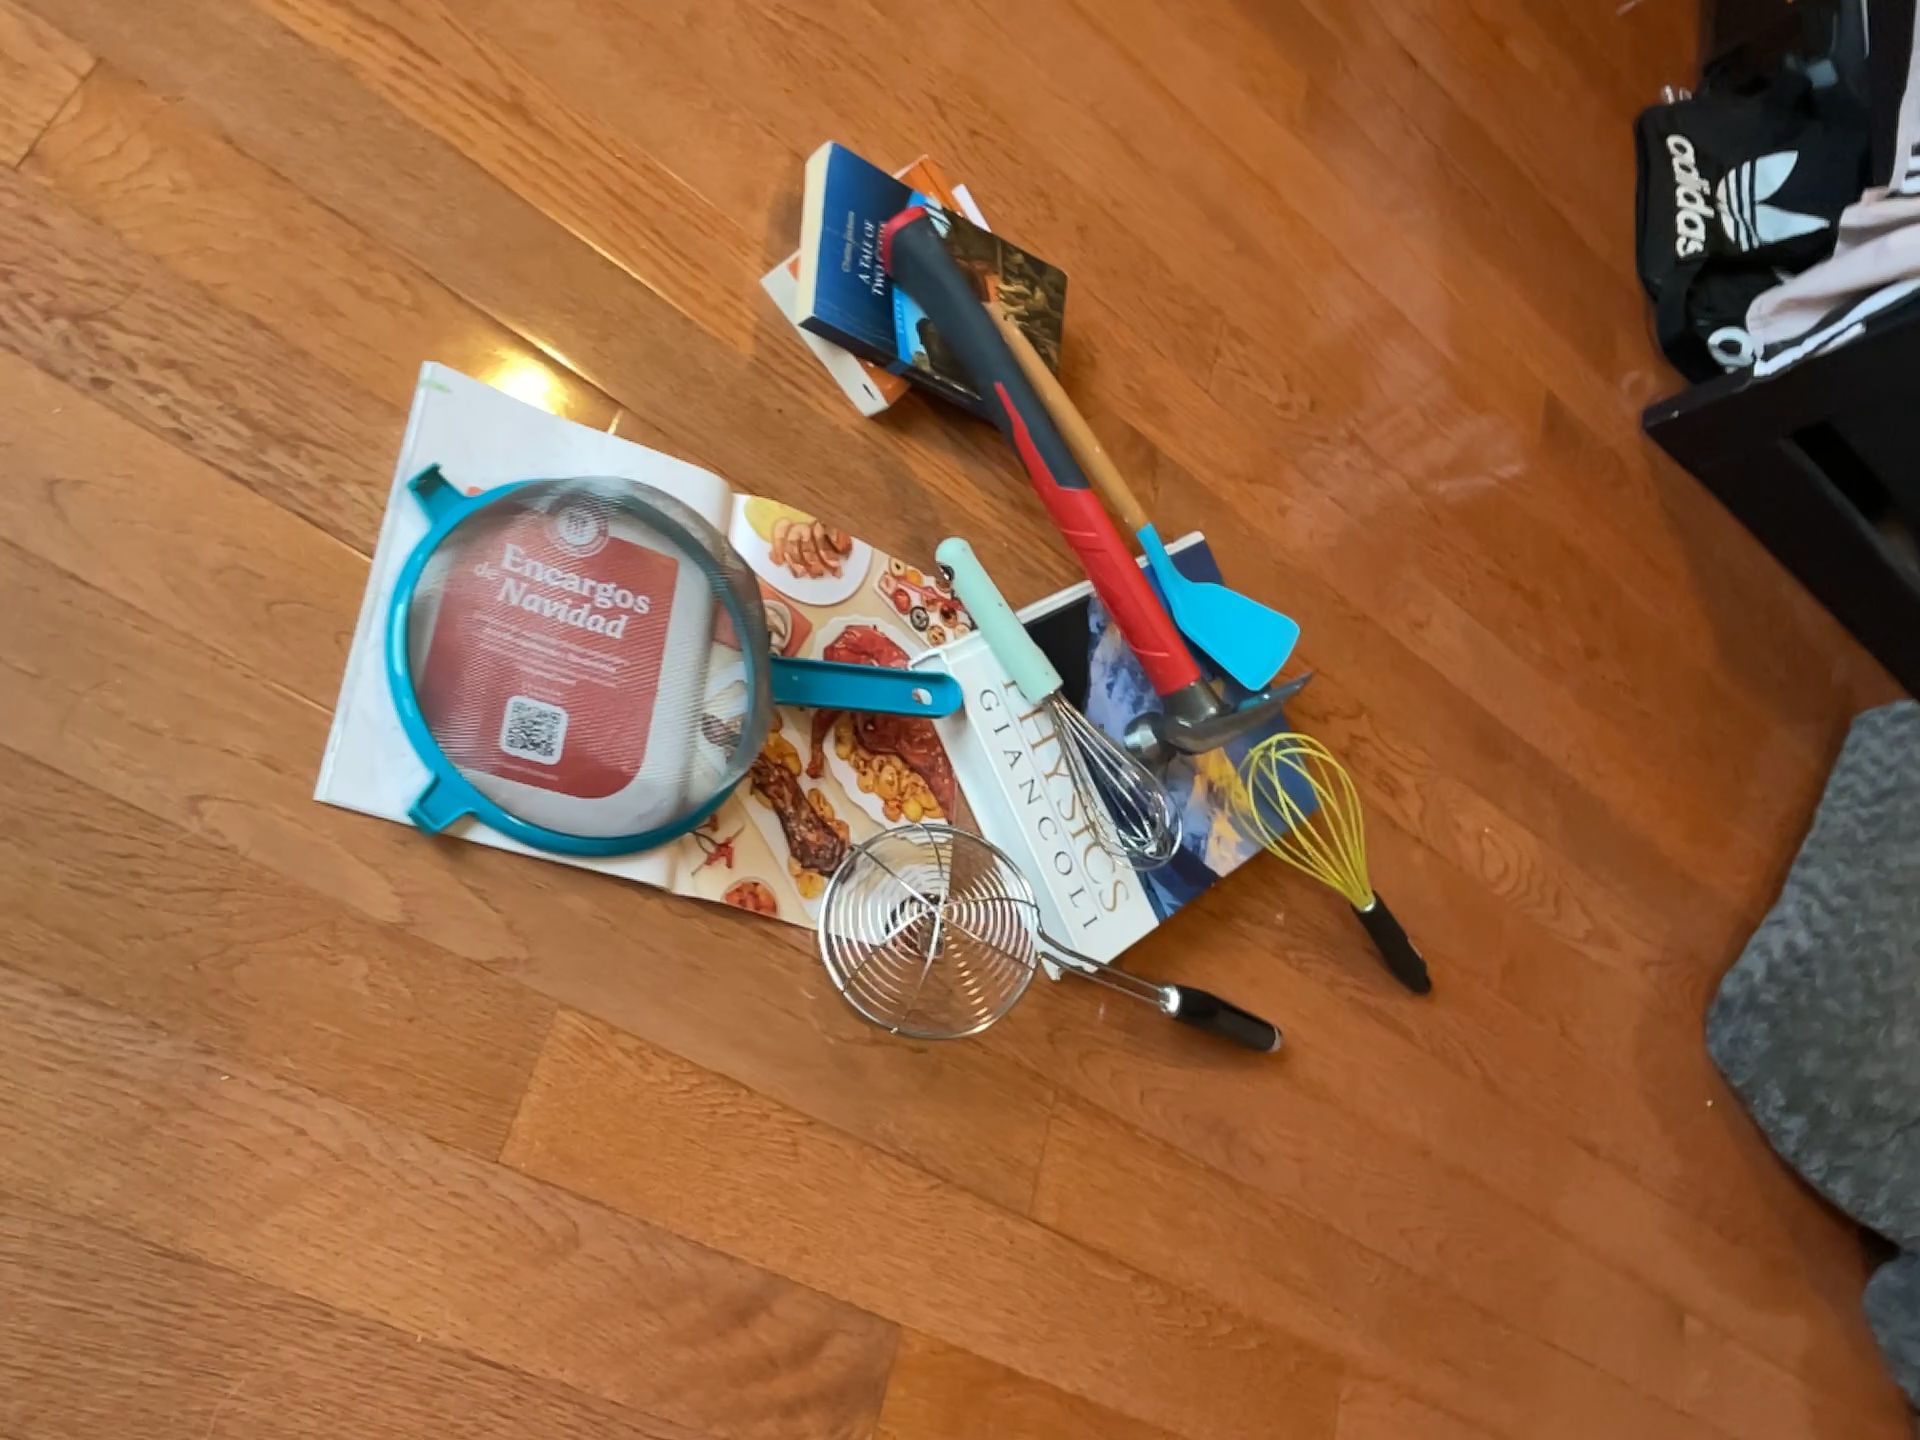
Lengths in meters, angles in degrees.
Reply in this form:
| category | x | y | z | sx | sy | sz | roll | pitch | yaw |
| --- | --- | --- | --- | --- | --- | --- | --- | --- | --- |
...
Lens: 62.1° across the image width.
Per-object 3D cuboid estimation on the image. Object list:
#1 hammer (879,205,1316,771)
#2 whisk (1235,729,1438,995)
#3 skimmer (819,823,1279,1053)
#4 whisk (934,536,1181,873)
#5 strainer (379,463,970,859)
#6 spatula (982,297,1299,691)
| category | x | y | z | sx | sy | sz | roll | pitch | yaw |
| --- | --- | --- | --- | --- | --- | --- | --- | --- | --- |
| hammer | 0.072 | -0.154 | 0.996 | 0.038 | 0.143 | 0.386 | -35 | 96 | -44 |
| whisk | 0.280 | 0.116 | 1.146 | 0.311 | 0.067 | 0.080 | 48 | 34 | -35 |
| skimmer | 0.071 | 0.164 | 1.001 | 0.363 | 0.090 | 0.127 | 28 | 57 | -42 |
| whisk | 0.058 | -0.011 | 0.994 | 0.059 | 0.057 | 0.246 | -35 | 94 | -10 |
| strainer | -0.124 | -0.036 | 0.851 | 0.340 | 0.095 | 0.211 | 5 | 72 | -31 |
| spatula | 0.115 | -0.157 | 1.084 | 0.317 | 0.044 | 0.082 | 53 | 52 | -13 |
